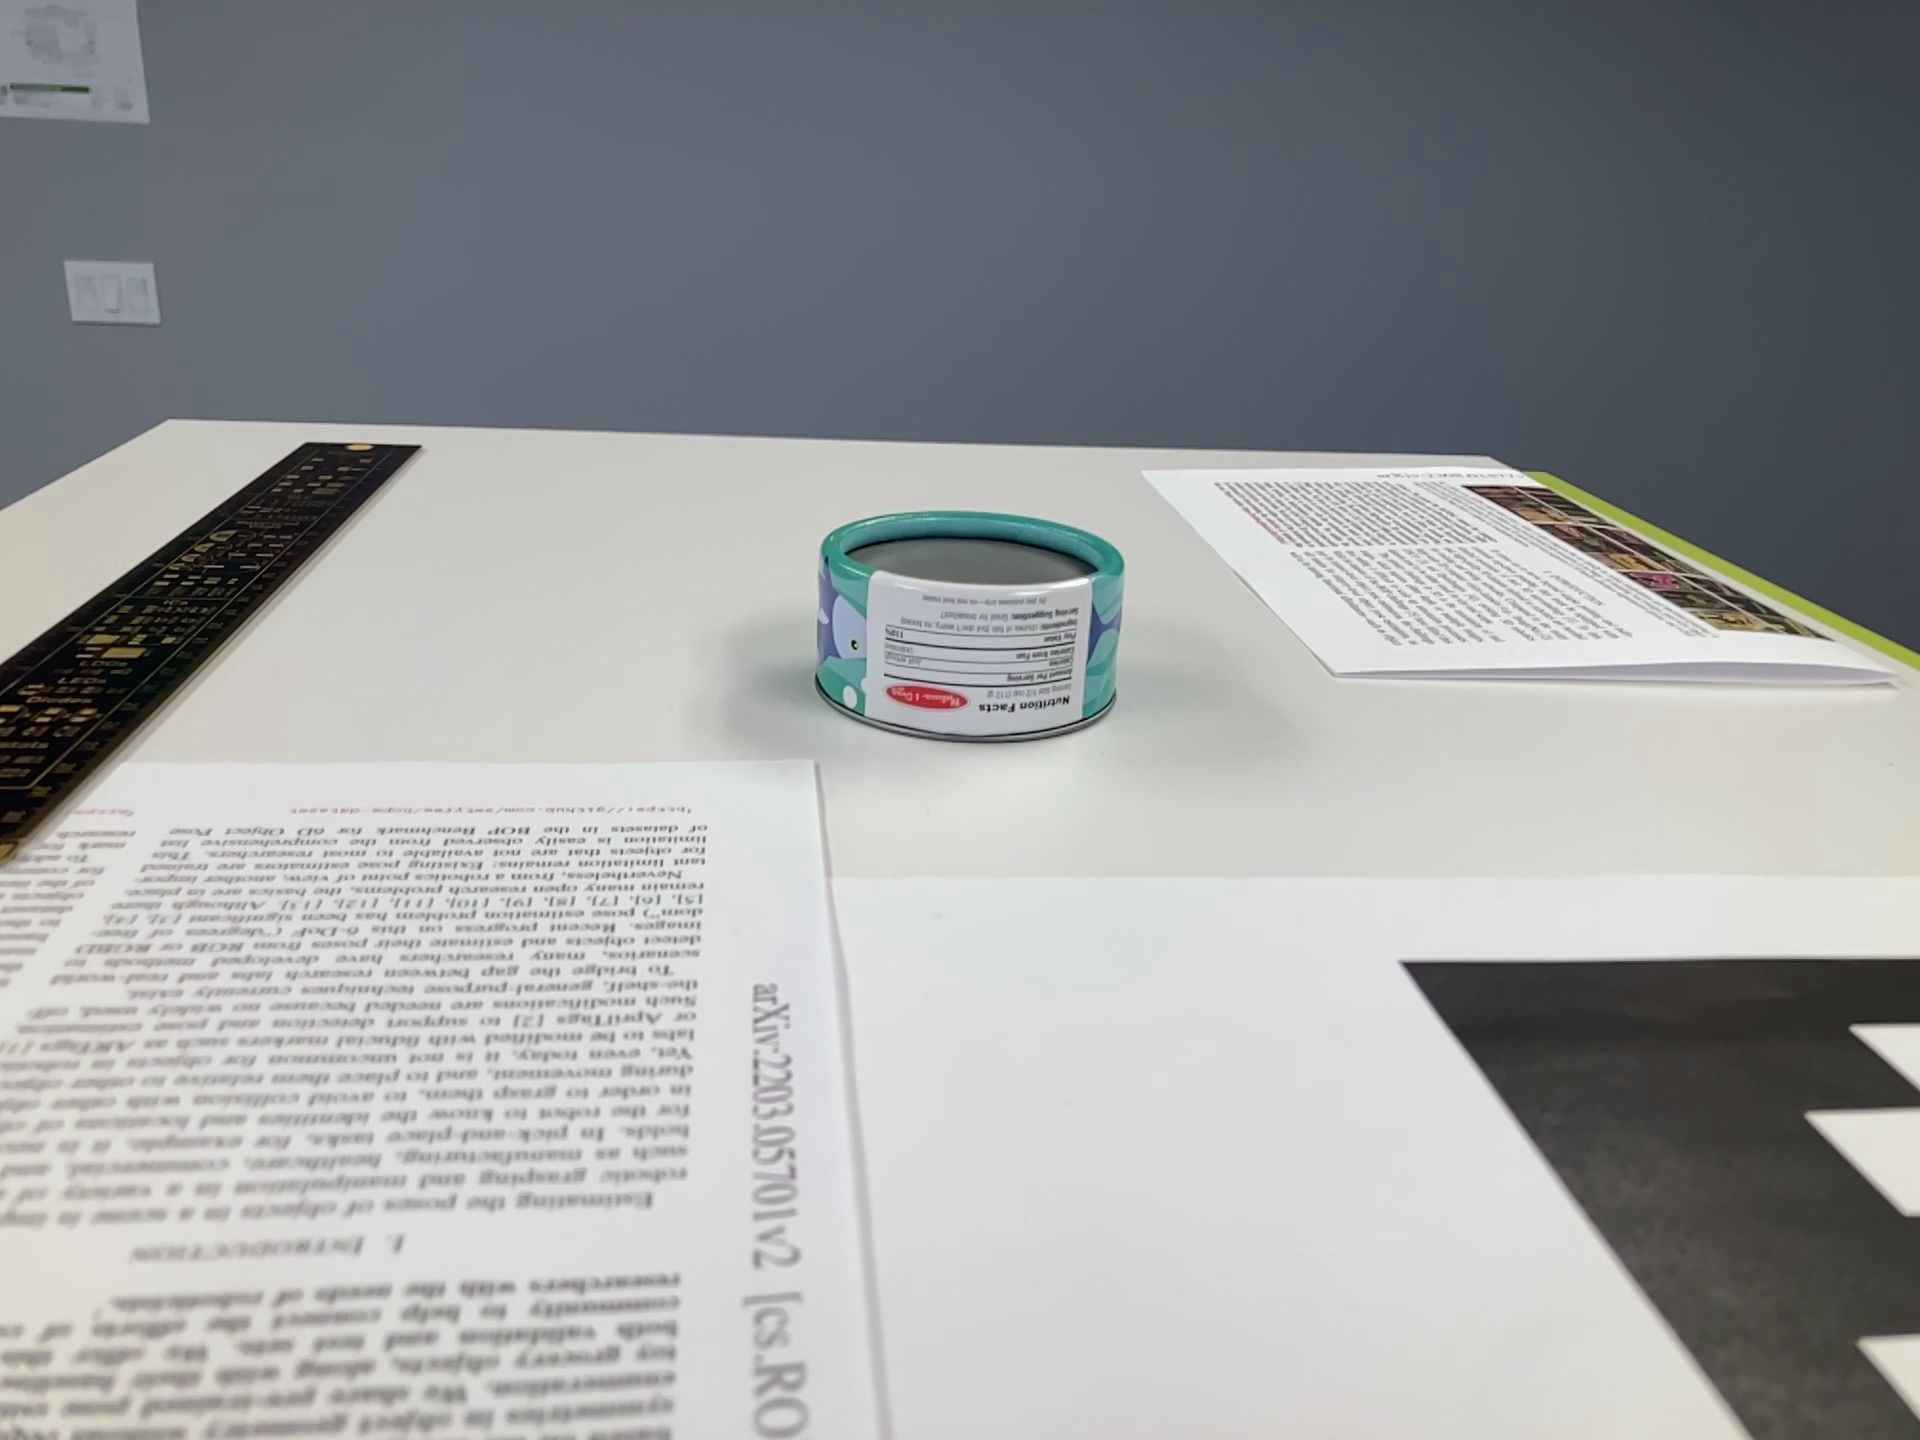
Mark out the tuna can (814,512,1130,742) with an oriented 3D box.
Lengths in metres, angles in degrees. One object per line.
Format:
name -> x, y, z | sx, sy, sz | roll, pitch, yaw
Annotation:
tuna can -> 0.002, -0.023, 0.343 | 0.071, 0.033, 0.071 | 4, 20, -2
